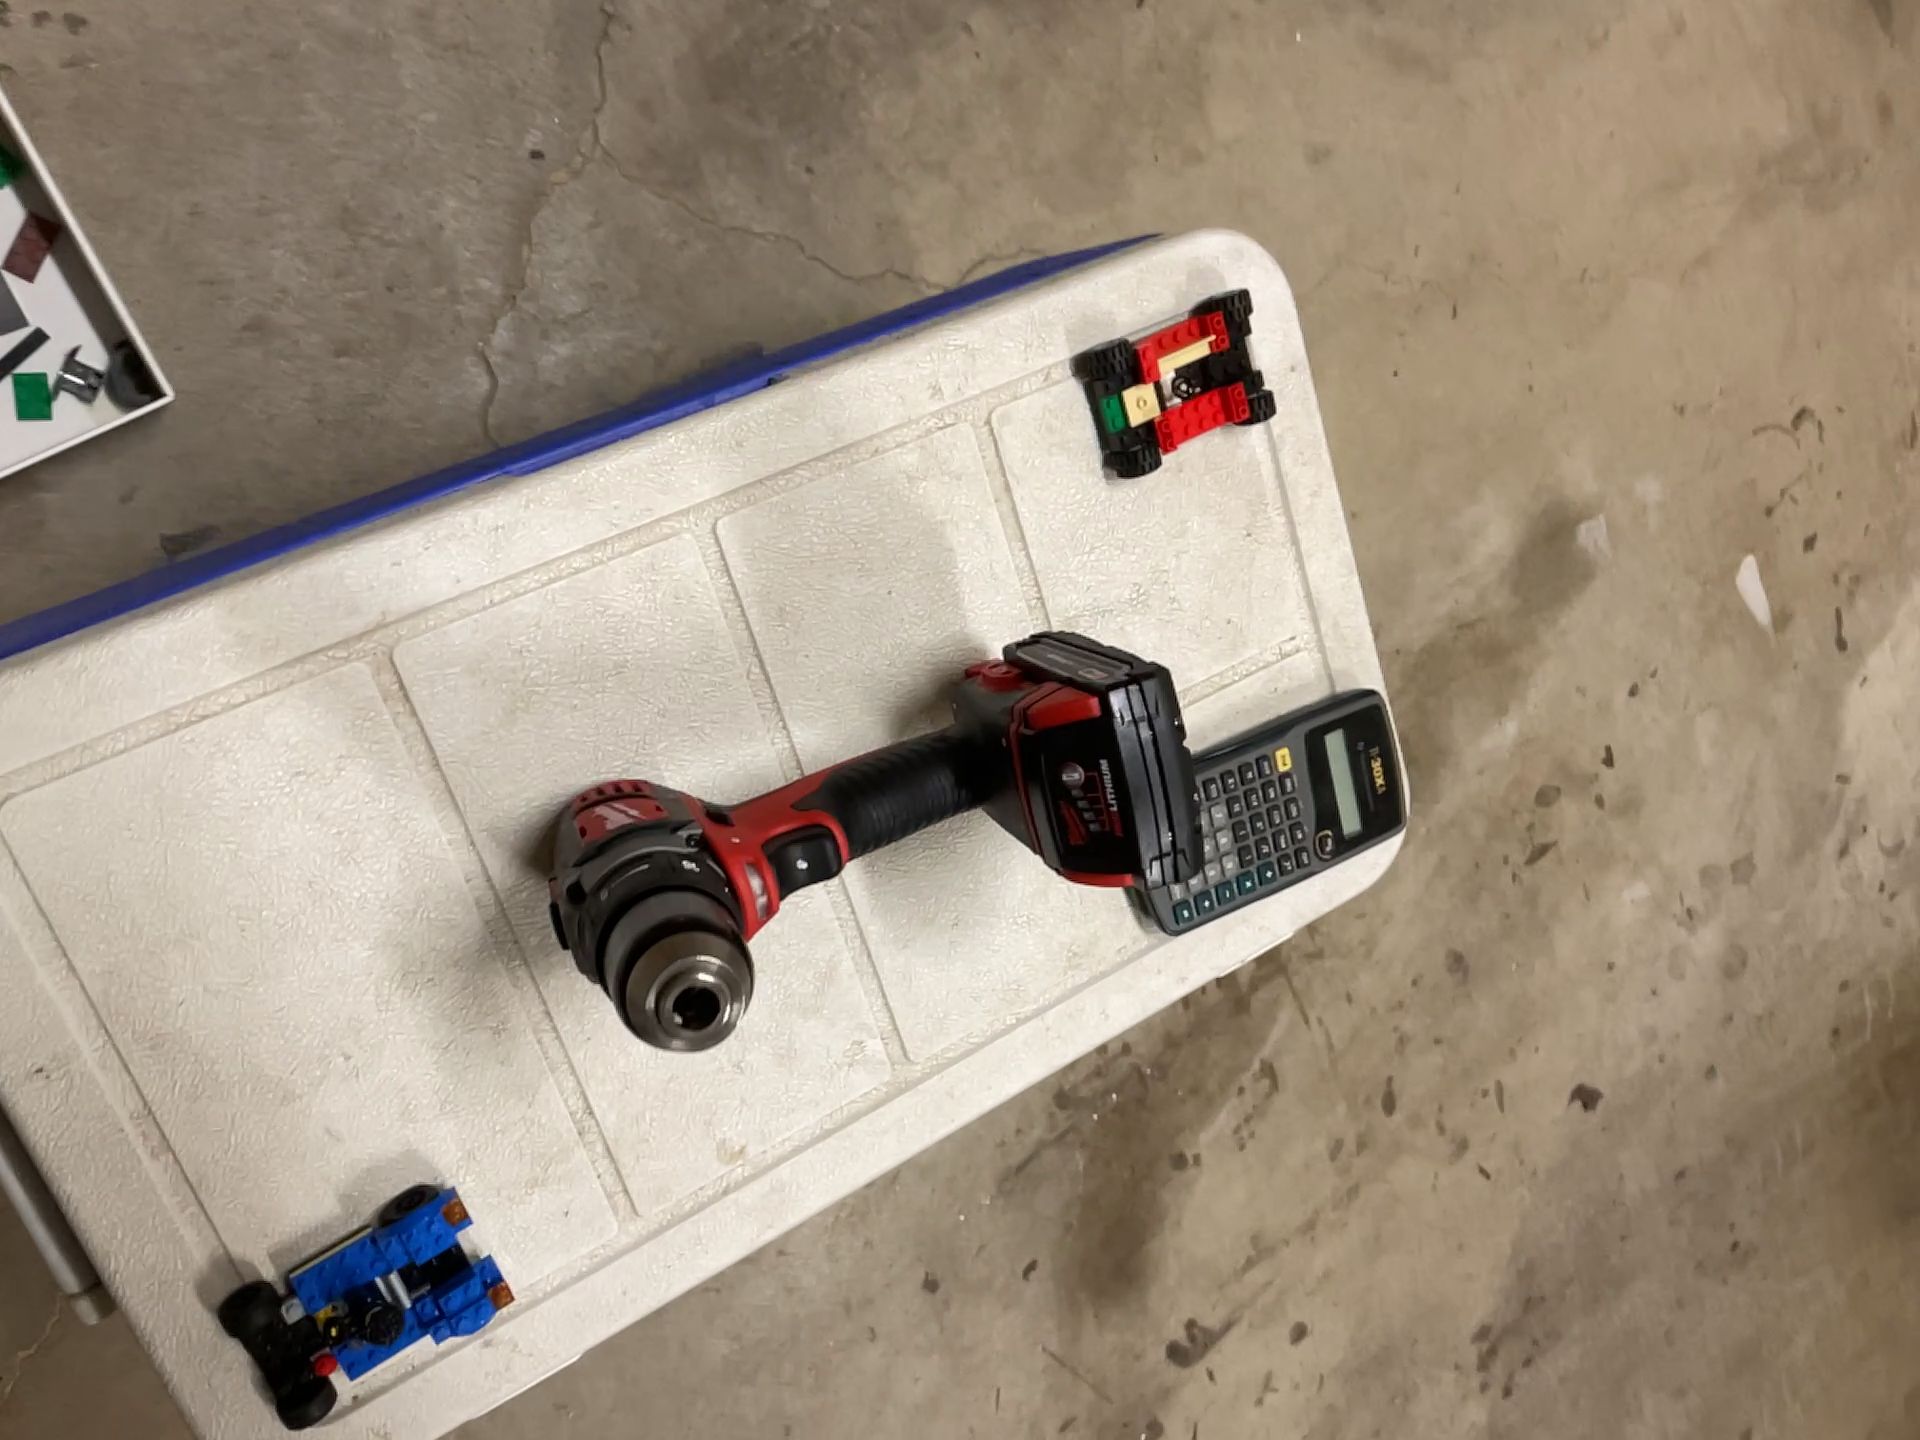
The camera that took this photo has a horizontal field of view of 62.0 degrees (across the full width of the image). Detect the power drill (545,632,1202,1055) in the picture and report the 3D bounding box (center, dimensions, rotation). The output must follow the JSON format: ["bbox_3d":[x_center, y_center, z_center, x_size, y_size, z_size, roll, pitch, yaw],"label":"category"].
[{"bbox_3d":[-0.031,0.043,0.563,0.227,0.188,0.080,-17,105,-15],"label":"power drill"}]
